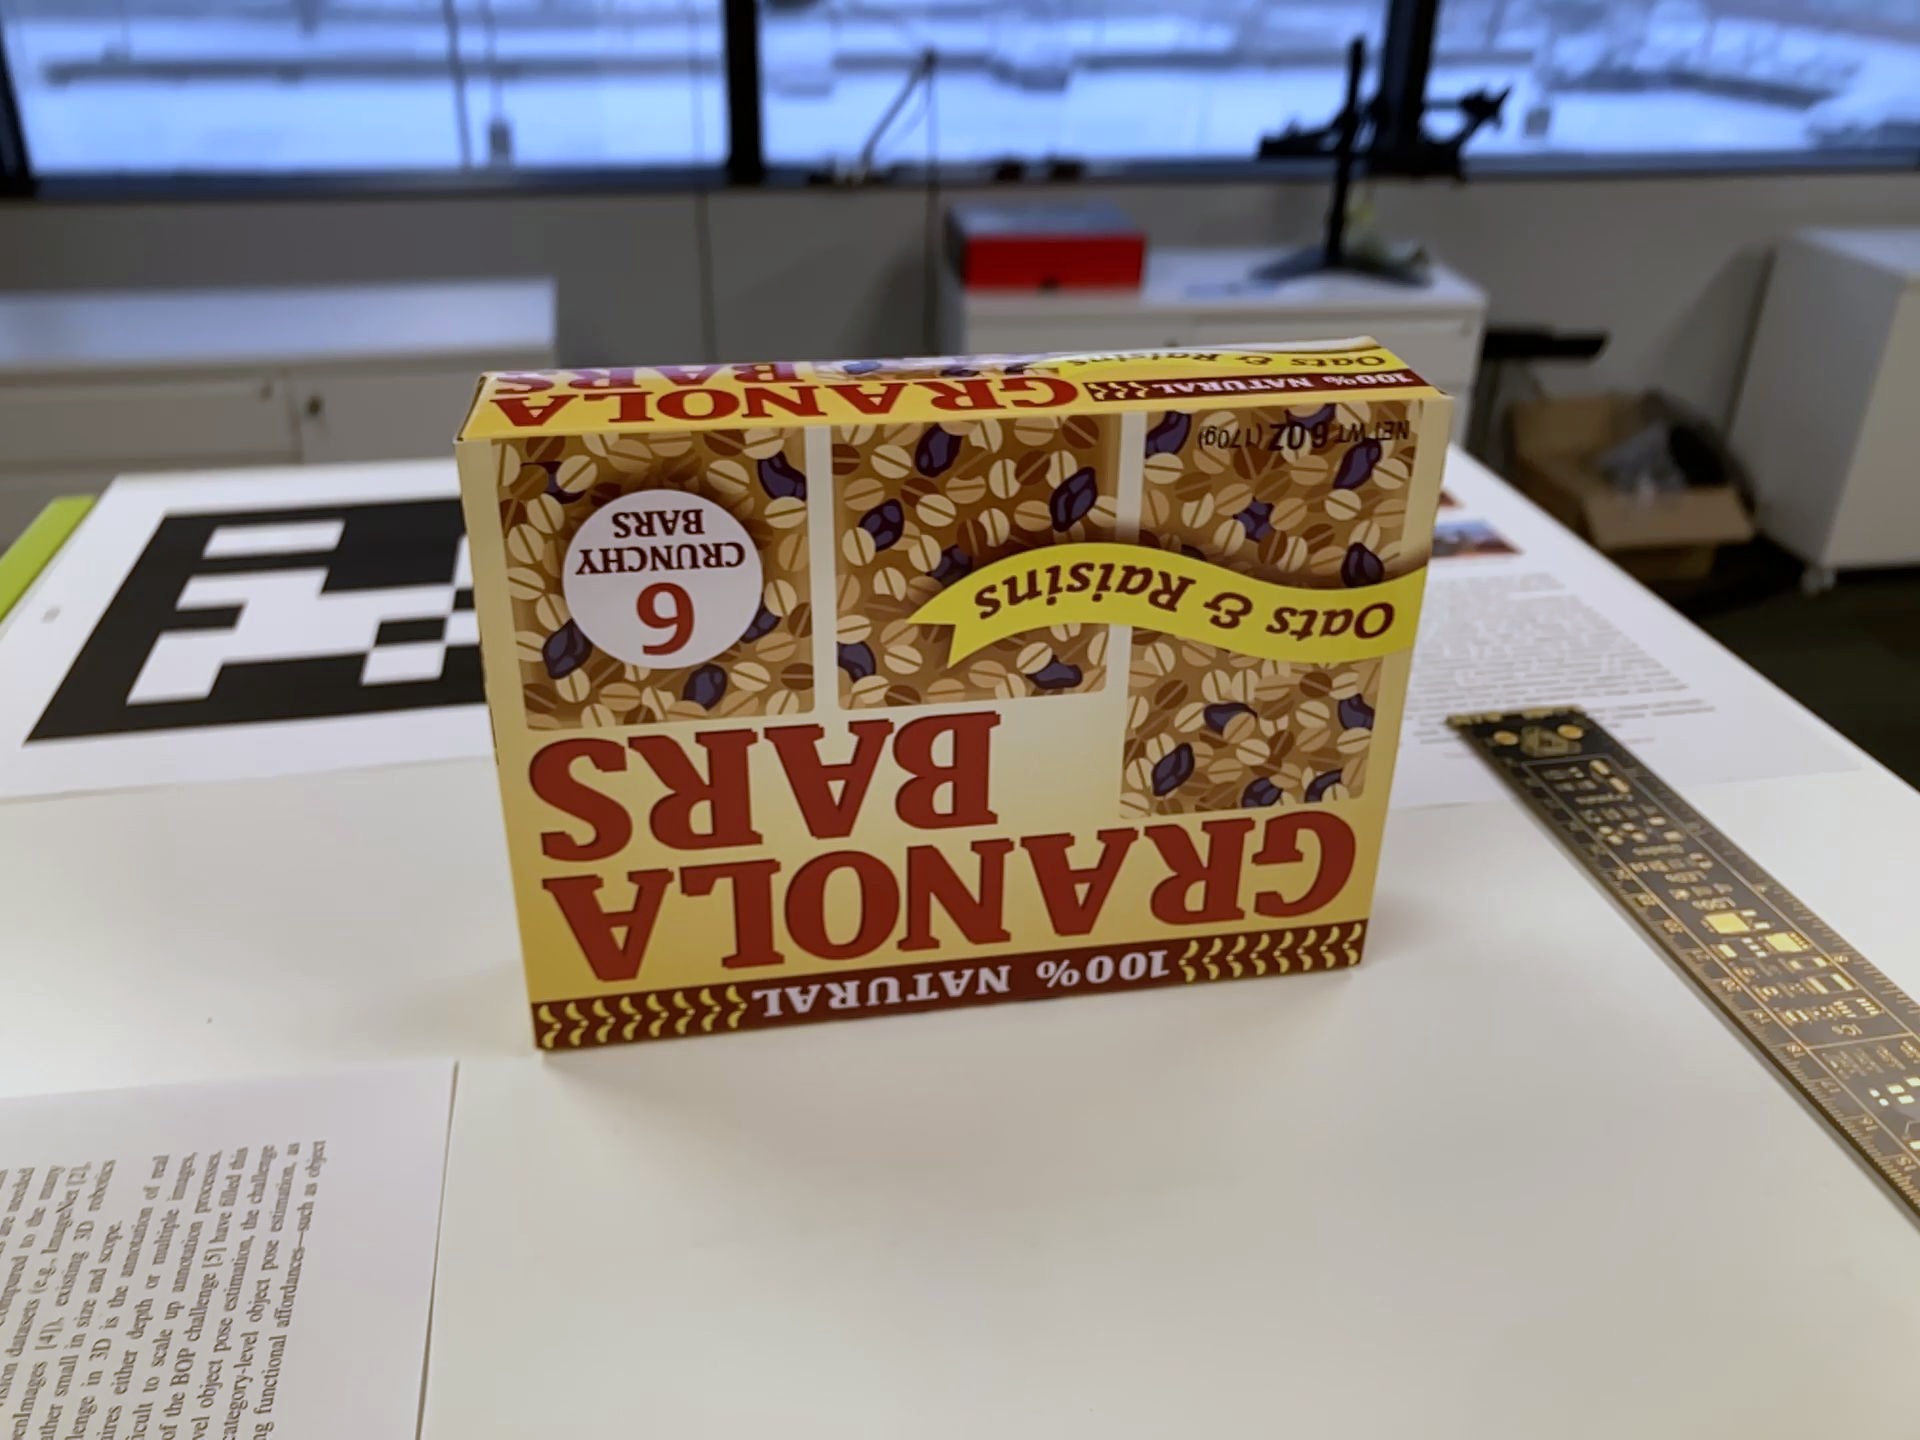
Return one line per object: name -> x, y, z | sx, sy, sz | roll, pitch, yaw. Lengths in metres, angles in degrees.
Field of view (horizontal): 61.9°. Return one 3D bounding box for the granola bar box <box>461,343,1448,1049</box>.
granola bar box -> -0.001, -0.005, 0.307 | 0.165, 0.124, 0.039 | -4, 28, -9
